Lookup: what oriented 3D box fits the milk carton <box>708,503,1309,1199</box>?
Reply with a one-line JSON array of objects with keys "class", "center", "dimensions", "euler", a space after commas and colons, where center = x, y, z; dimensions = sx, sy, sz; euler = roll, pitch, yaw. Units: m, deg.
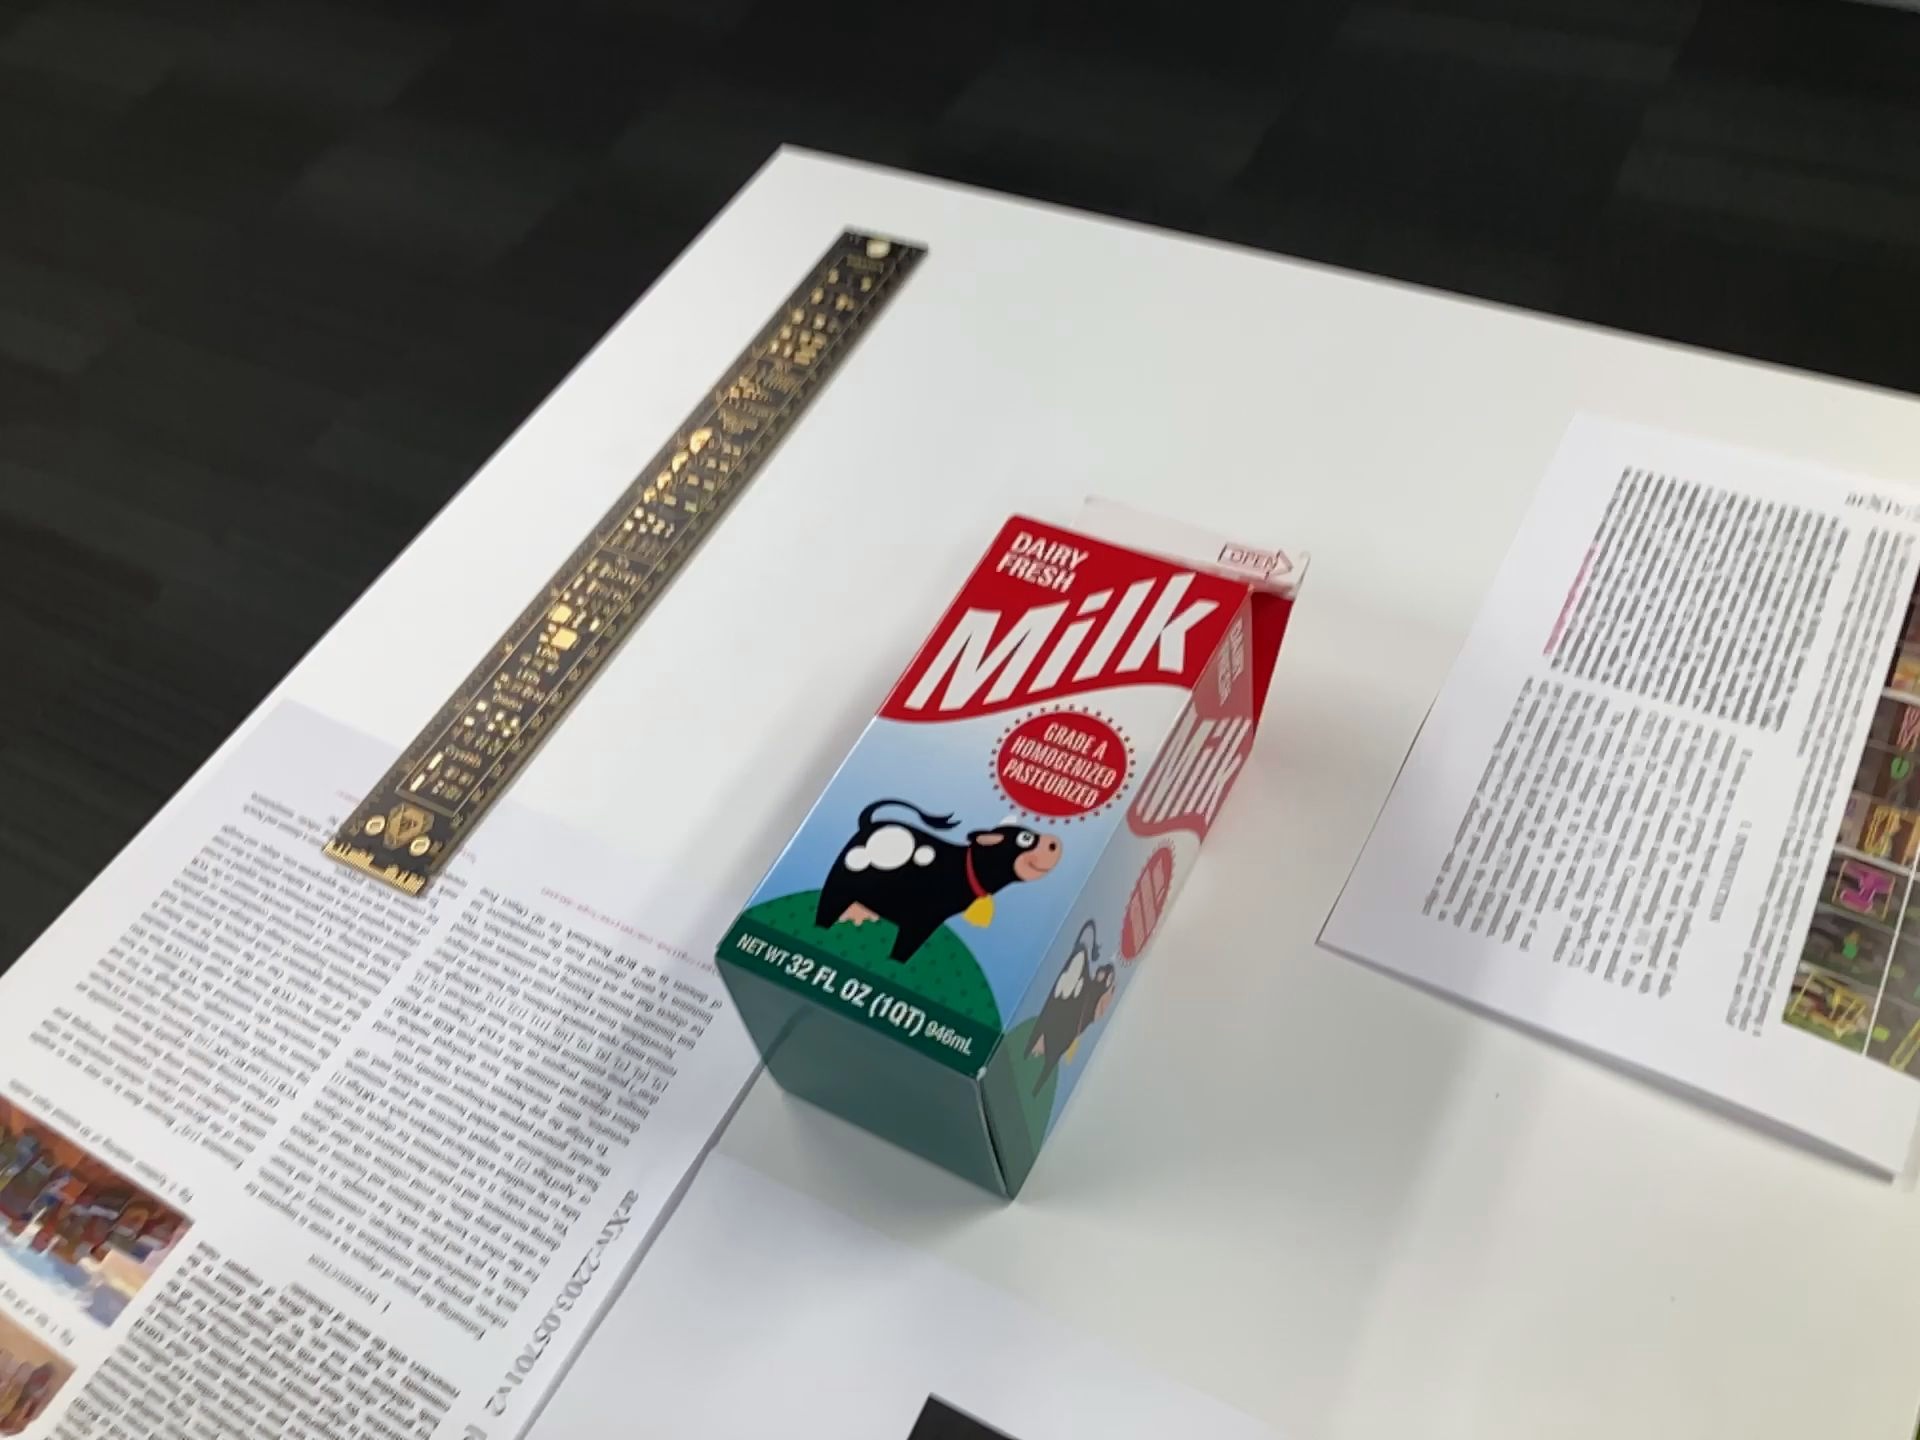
[{"class": "milk carton", "center": [0.023, 0.015, 0.414], "dimensions": [0.072, 0.073, 0.190], "euler": [19, 58, 23]}]
